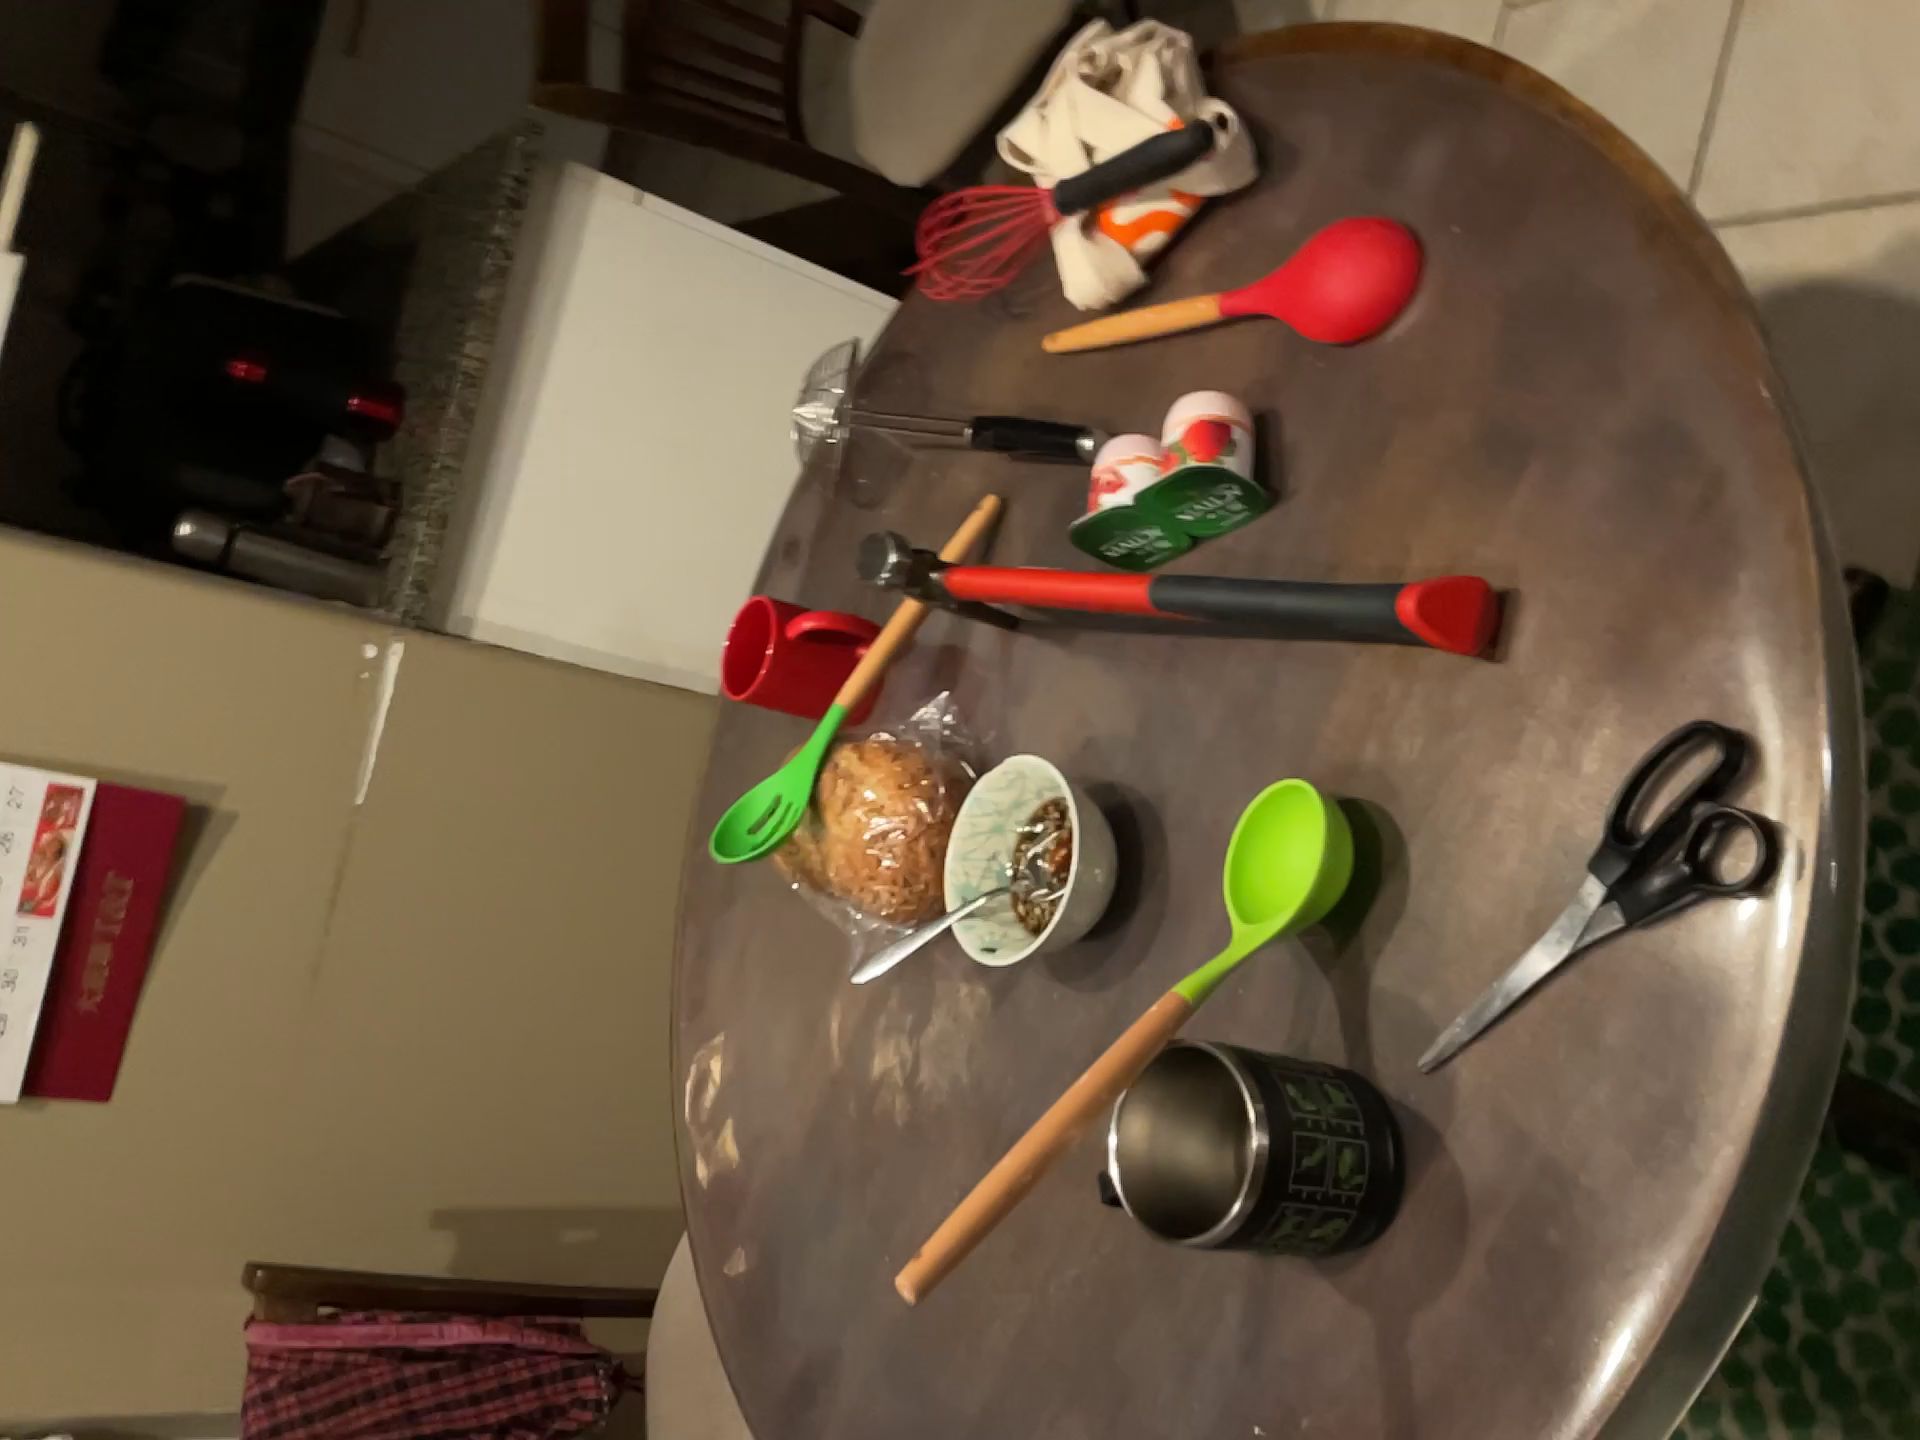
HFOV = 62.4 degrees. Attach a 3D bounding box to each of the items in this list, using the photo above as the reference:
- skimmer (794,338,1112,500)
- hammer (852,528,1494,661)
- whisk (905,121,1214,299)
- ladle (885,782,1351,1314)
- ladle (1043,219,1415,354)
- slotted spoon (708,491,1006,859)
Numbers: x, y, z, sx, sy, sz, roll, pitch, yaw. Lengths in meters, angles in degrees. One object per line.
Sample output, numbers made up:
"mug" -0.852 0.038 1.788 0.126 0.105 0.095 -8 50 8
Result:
"skimmer" -0.007 -0.210 1.155 0.364 0.090 0.127 18 101 46
"hammer" 0.117 -0.065 0.880 0.387 0.143 0.038 10 87 45
"whisk" 0.055 -0.331 1.024 0.296 0.073 0.073 -2 75 55
"ladle" 0.074 0.137 0.710 0.062 0.320 0.078 53 149 -2
"ladle" 0.143 -0.246 0.955 0.316 0.031 0.069 7 83 58
"slotted spoon" -0.063 -0.030 1.078 0.314 0.031 0.070 -54 38 -8
